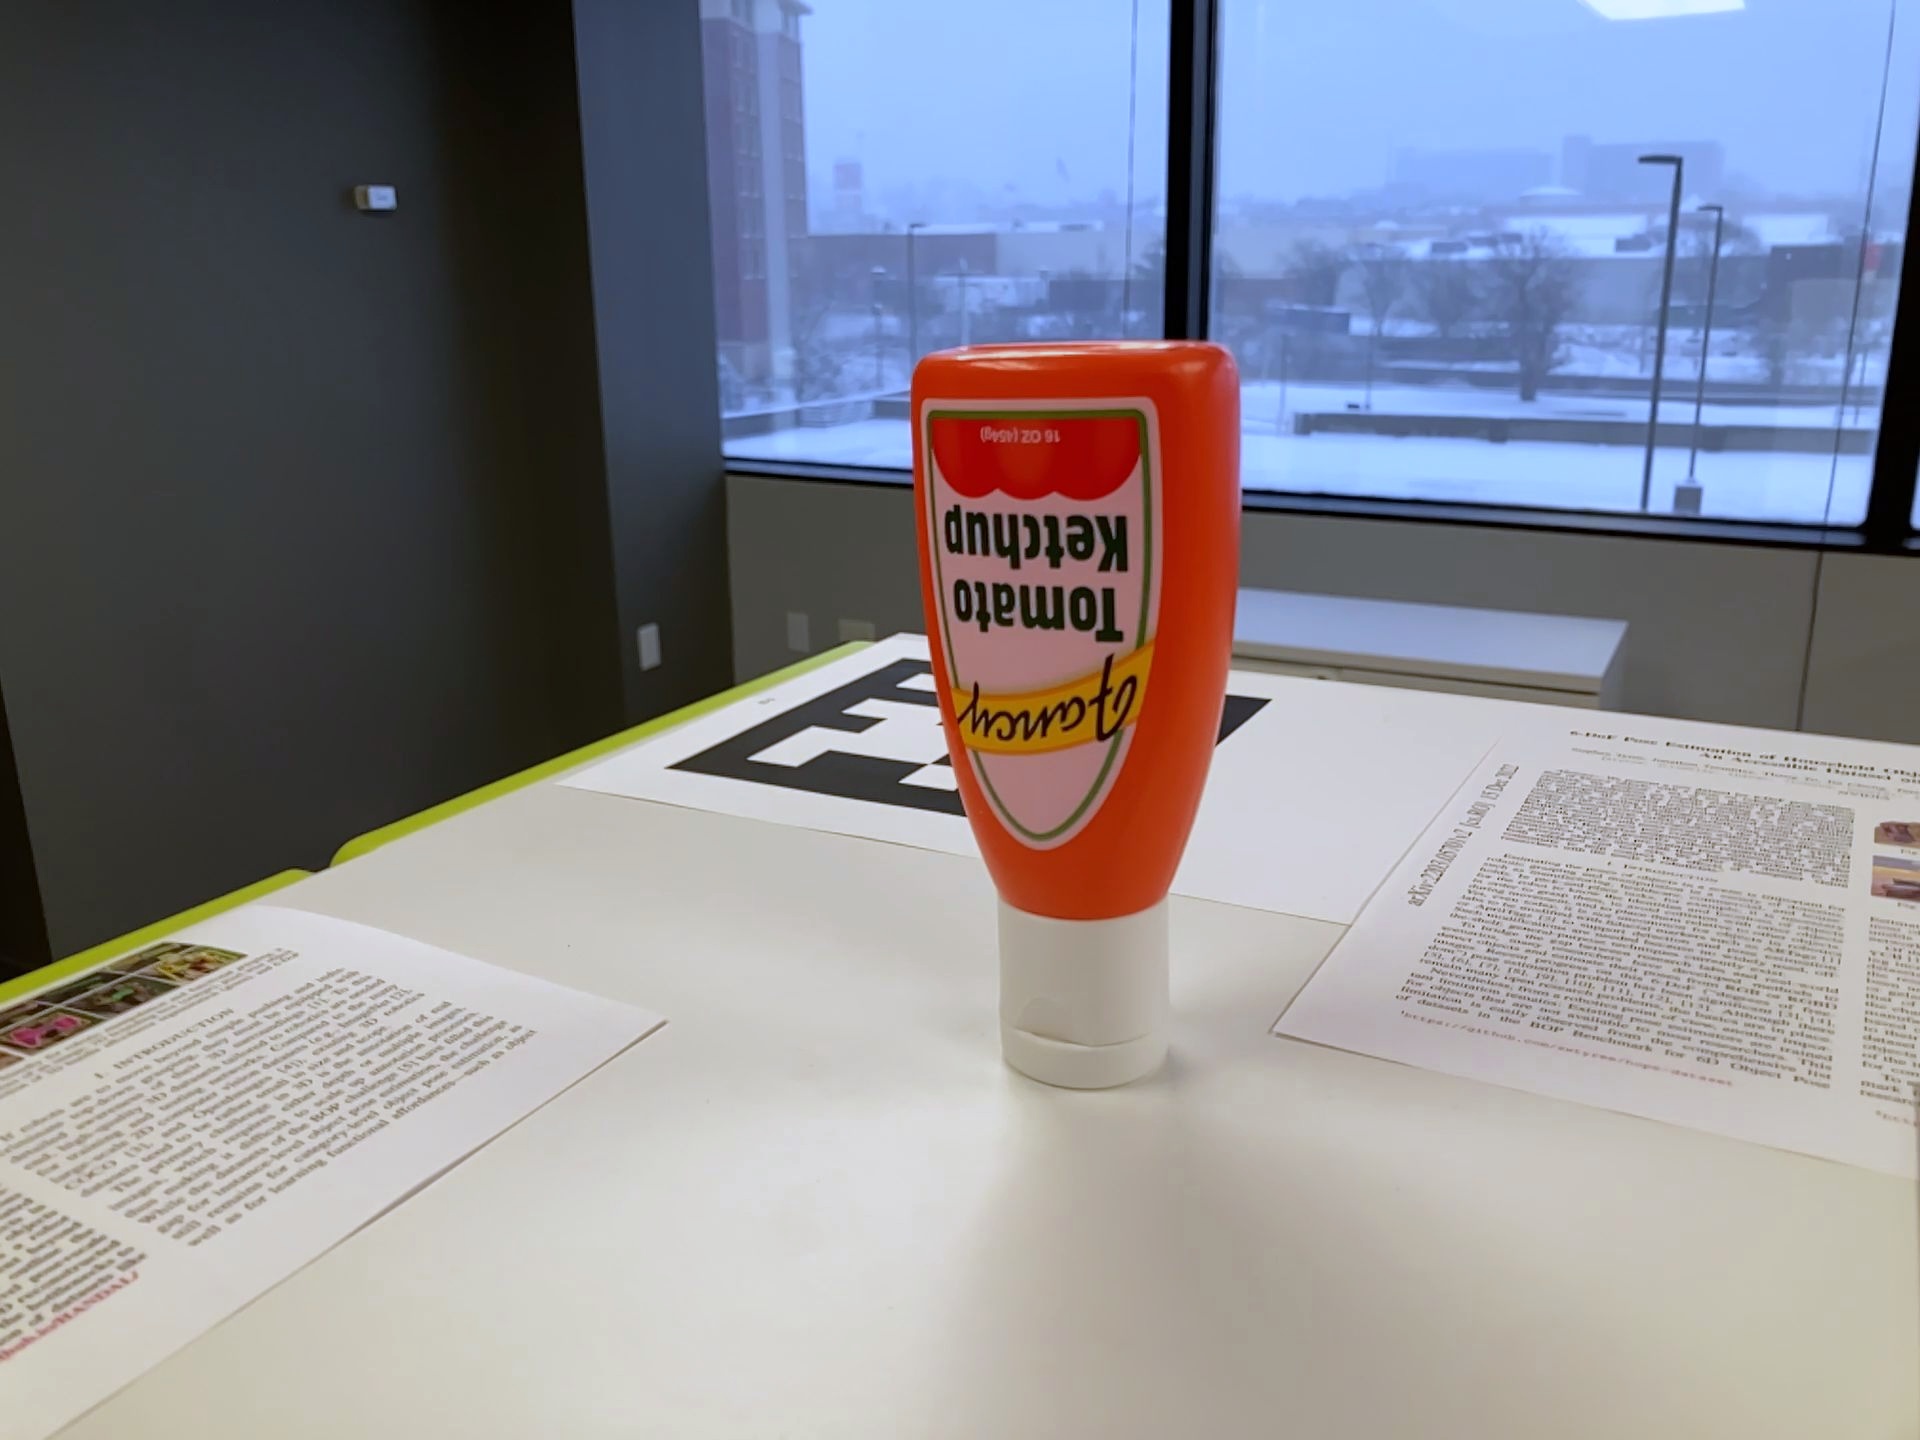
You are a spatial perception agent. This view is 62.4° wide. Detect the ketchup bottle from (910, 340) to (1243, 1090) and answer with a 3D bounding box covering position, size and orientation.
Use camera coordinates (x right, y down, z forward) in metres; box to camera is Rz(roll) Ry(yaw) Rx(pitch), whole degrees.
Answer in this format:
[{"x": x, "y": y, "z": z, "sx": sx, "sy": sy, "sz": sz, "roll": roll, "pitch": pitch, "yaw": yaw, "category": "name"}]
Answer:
[{"x": 0.024, "y": 0.000, "z": 0.321, "sx": 0.065, "sy": 0.149, "sz": 0.043, "roll": 7, "pitch": 18, "yaw": 29, "category": "ketchup bottle"}]
